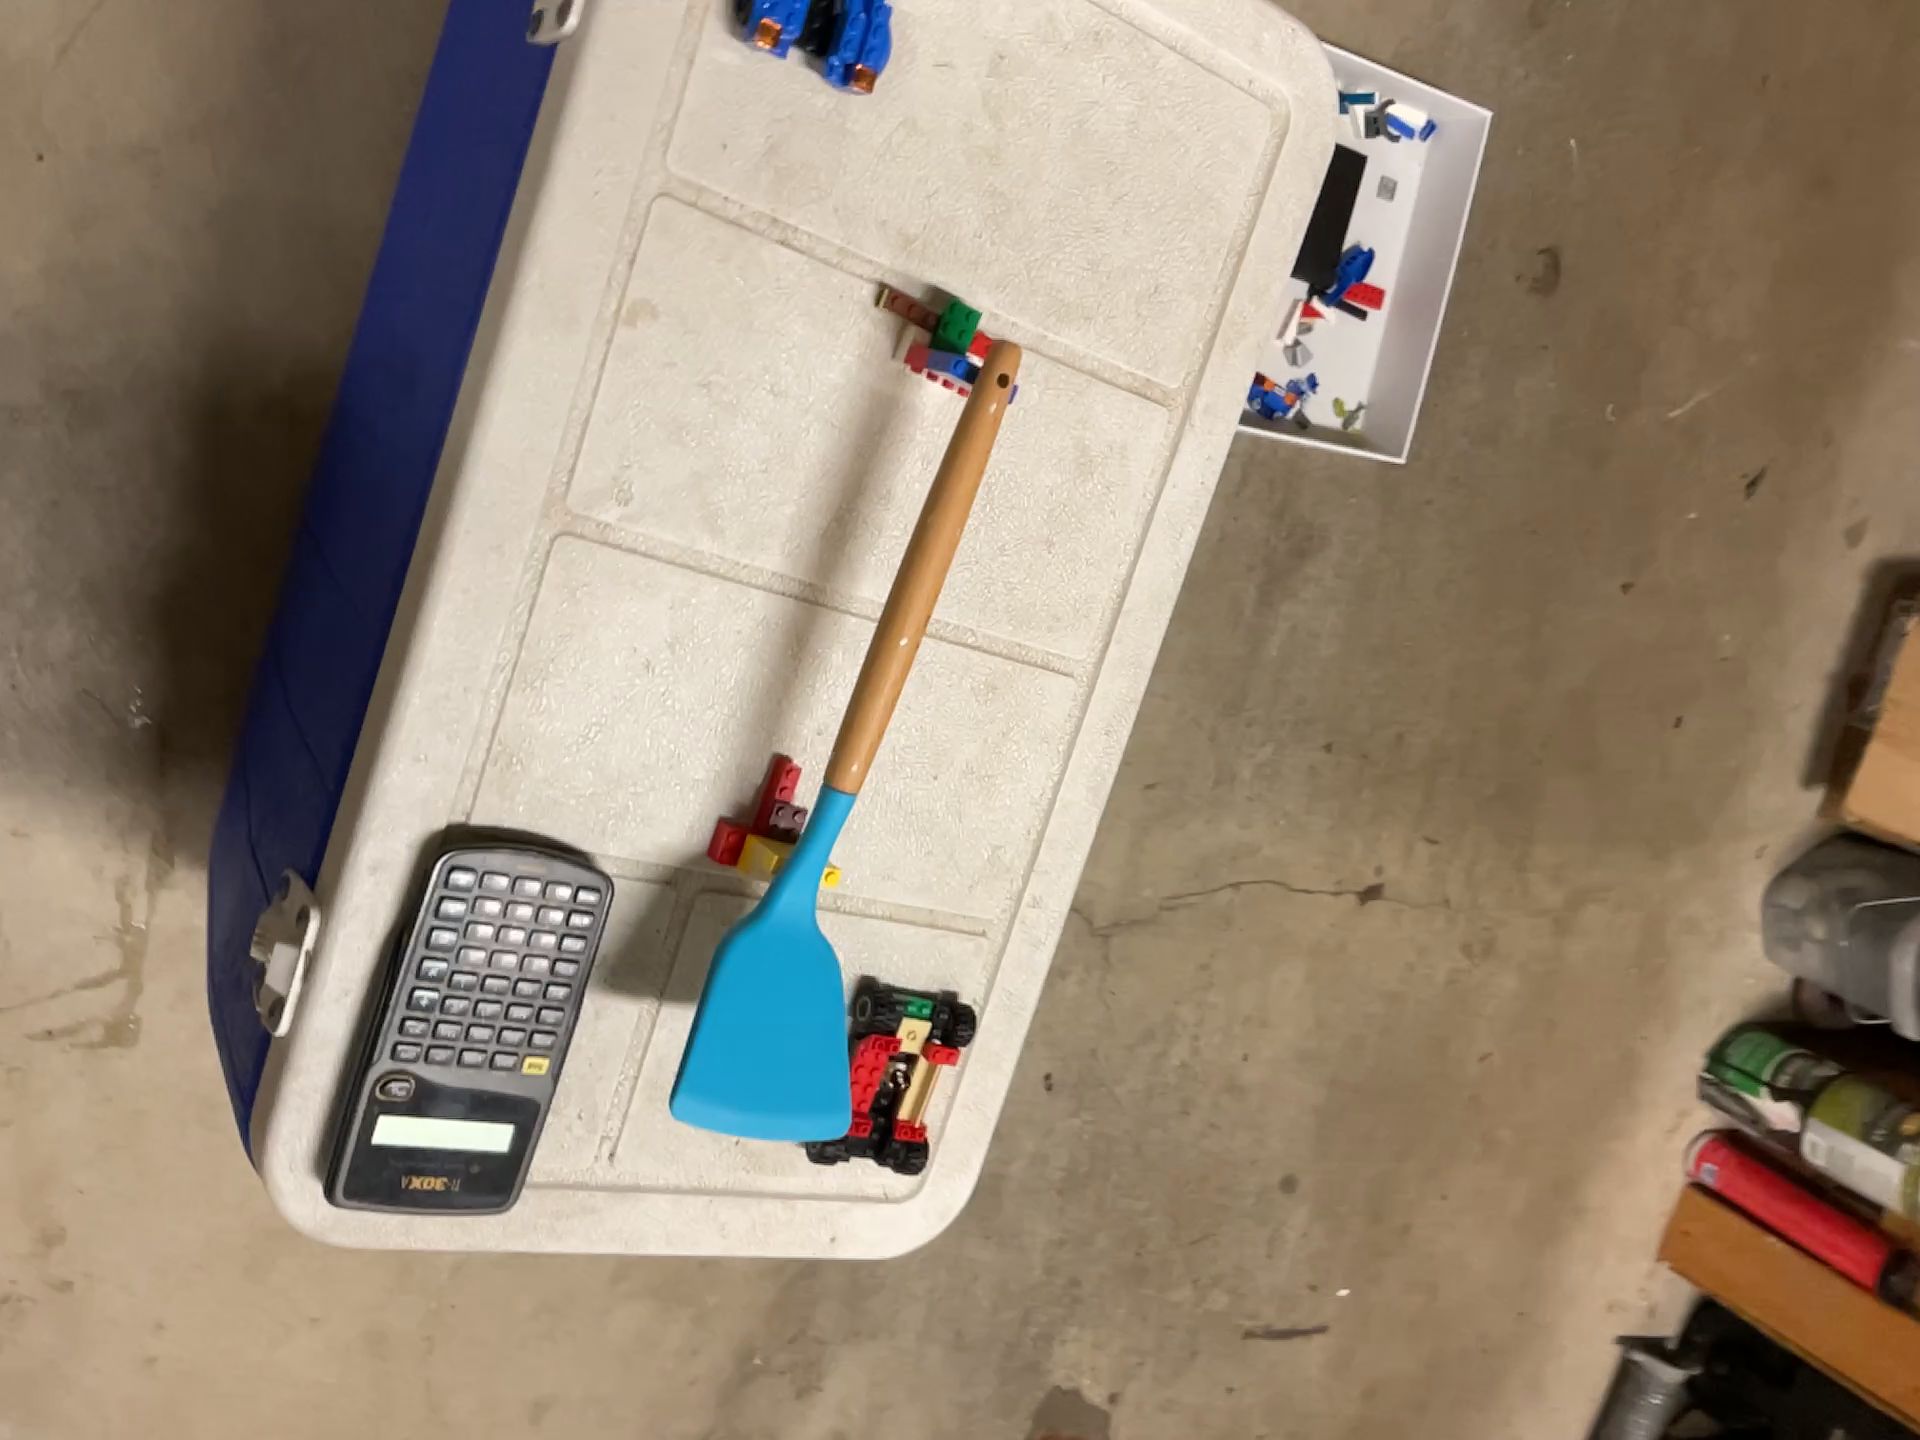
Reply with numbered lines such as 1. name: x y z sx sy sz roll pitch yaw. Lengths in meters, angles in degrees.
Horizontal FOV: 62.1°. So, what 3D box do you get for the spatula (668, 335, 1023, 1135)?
1. spatula: -0.032 0.004 0.618 0.082 0.044 0.317 17 96 -31
